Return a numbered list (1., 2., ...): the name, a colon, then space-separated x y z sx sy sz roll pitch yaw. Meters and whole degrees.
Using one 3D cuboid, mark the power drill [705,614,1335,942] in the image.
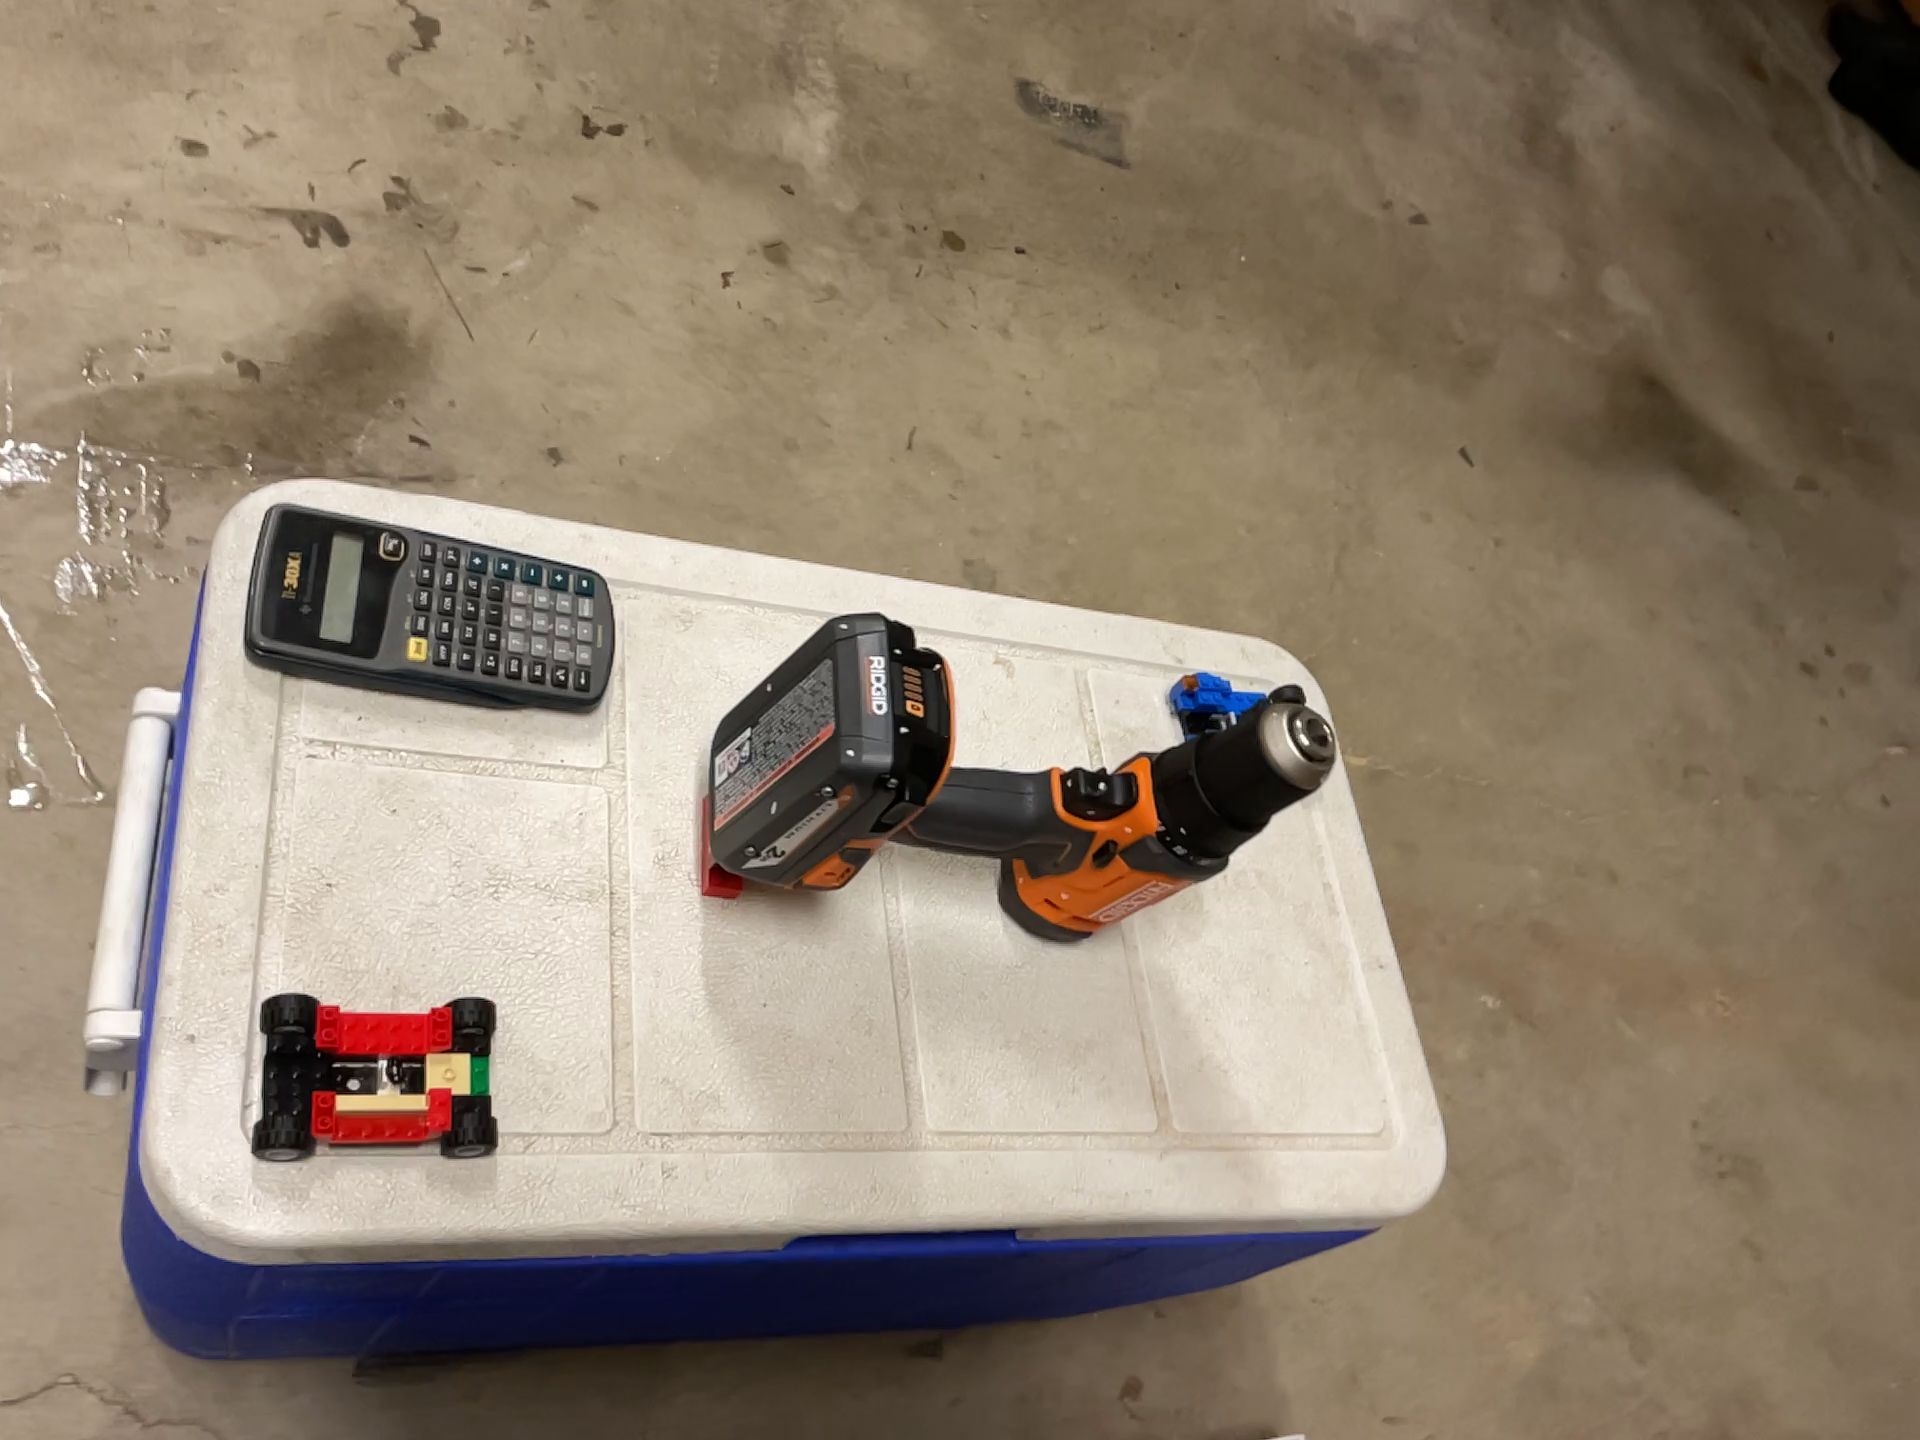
1. power drill: 0.029 0.026 0.679 0.226 0.185 0.084 17 55 -32
